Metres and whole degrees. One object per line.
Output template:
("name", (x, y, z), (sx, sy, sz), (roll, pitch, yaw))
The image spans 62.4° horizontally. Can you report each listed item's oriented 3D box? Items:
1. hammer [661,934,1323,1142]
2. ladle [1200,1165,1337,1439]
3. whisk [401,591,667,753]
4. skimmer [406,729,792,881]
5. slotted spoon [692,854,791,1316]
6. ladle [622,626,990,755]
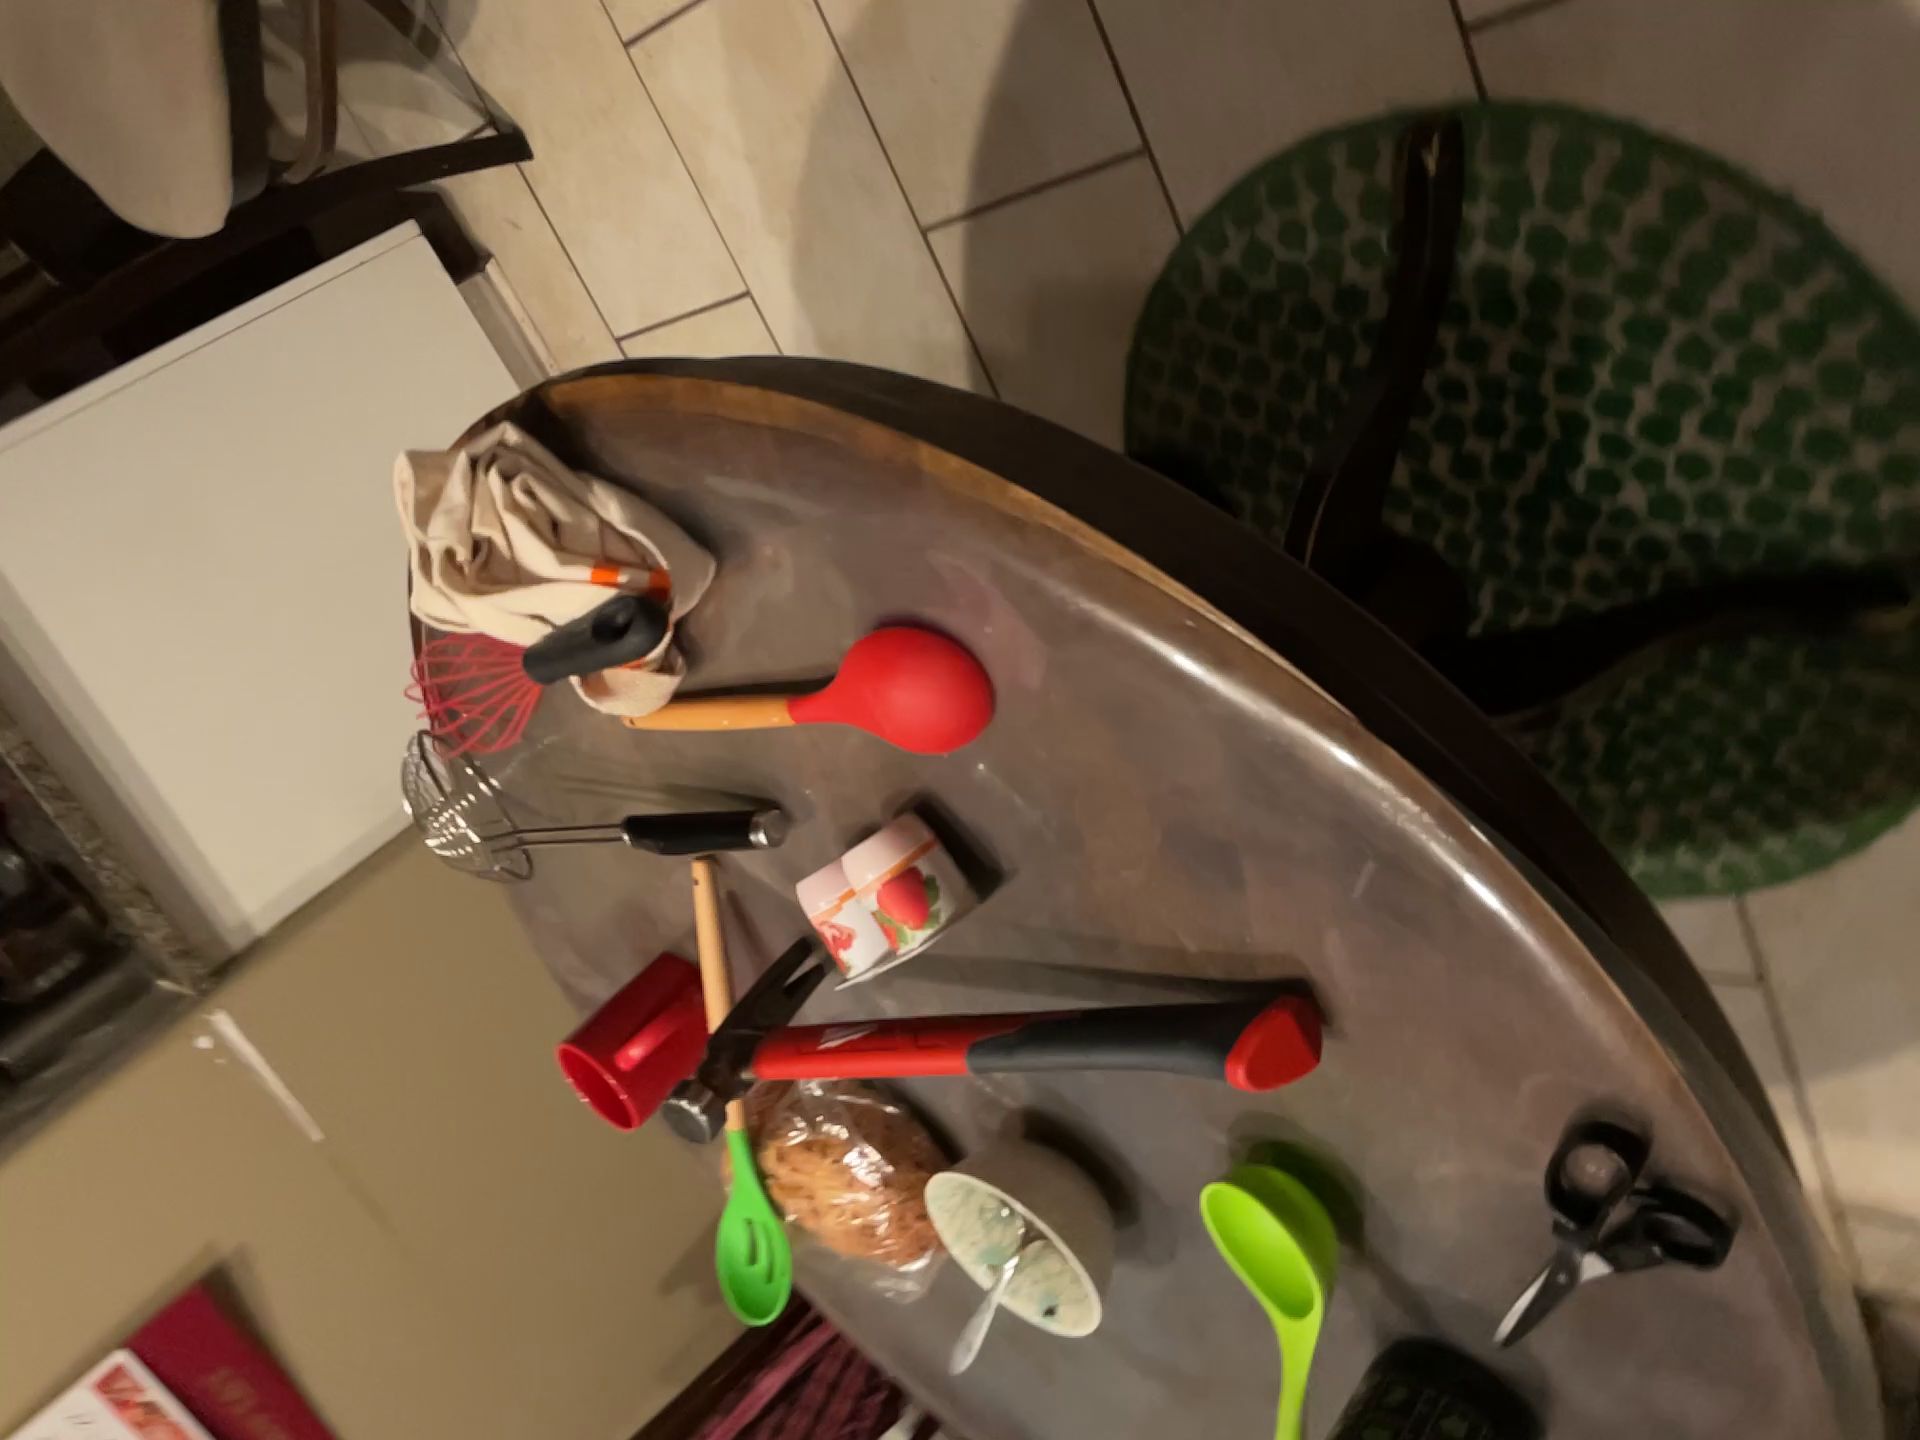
("hammer", (0.012, 0.156, 0.822), (0.386, 0.143, 0.038), (-12, 117, 39))
("ladle", (0.145, 0.376, 0.746), (0.062, 0.320, 0.078), (8, 165, -19))
("whisk", (-0.232, -0.029, 0.853), (0.296, 0.073, 0.073), (-13, 114, 52))
("skimmer", (-0.234, 0.052, 1.024), (0.363, 0.090, 0.127), (-5, 130, 37))
("slotted spoon", (-0.146, 0.236, 1.025), (0.070, 0.031, 0.313), (5, 105, 40))
("ladle", (-0.098, -0.008, 0.819), (0.316, 0.031, 0.069), (-2, 122, 51))
